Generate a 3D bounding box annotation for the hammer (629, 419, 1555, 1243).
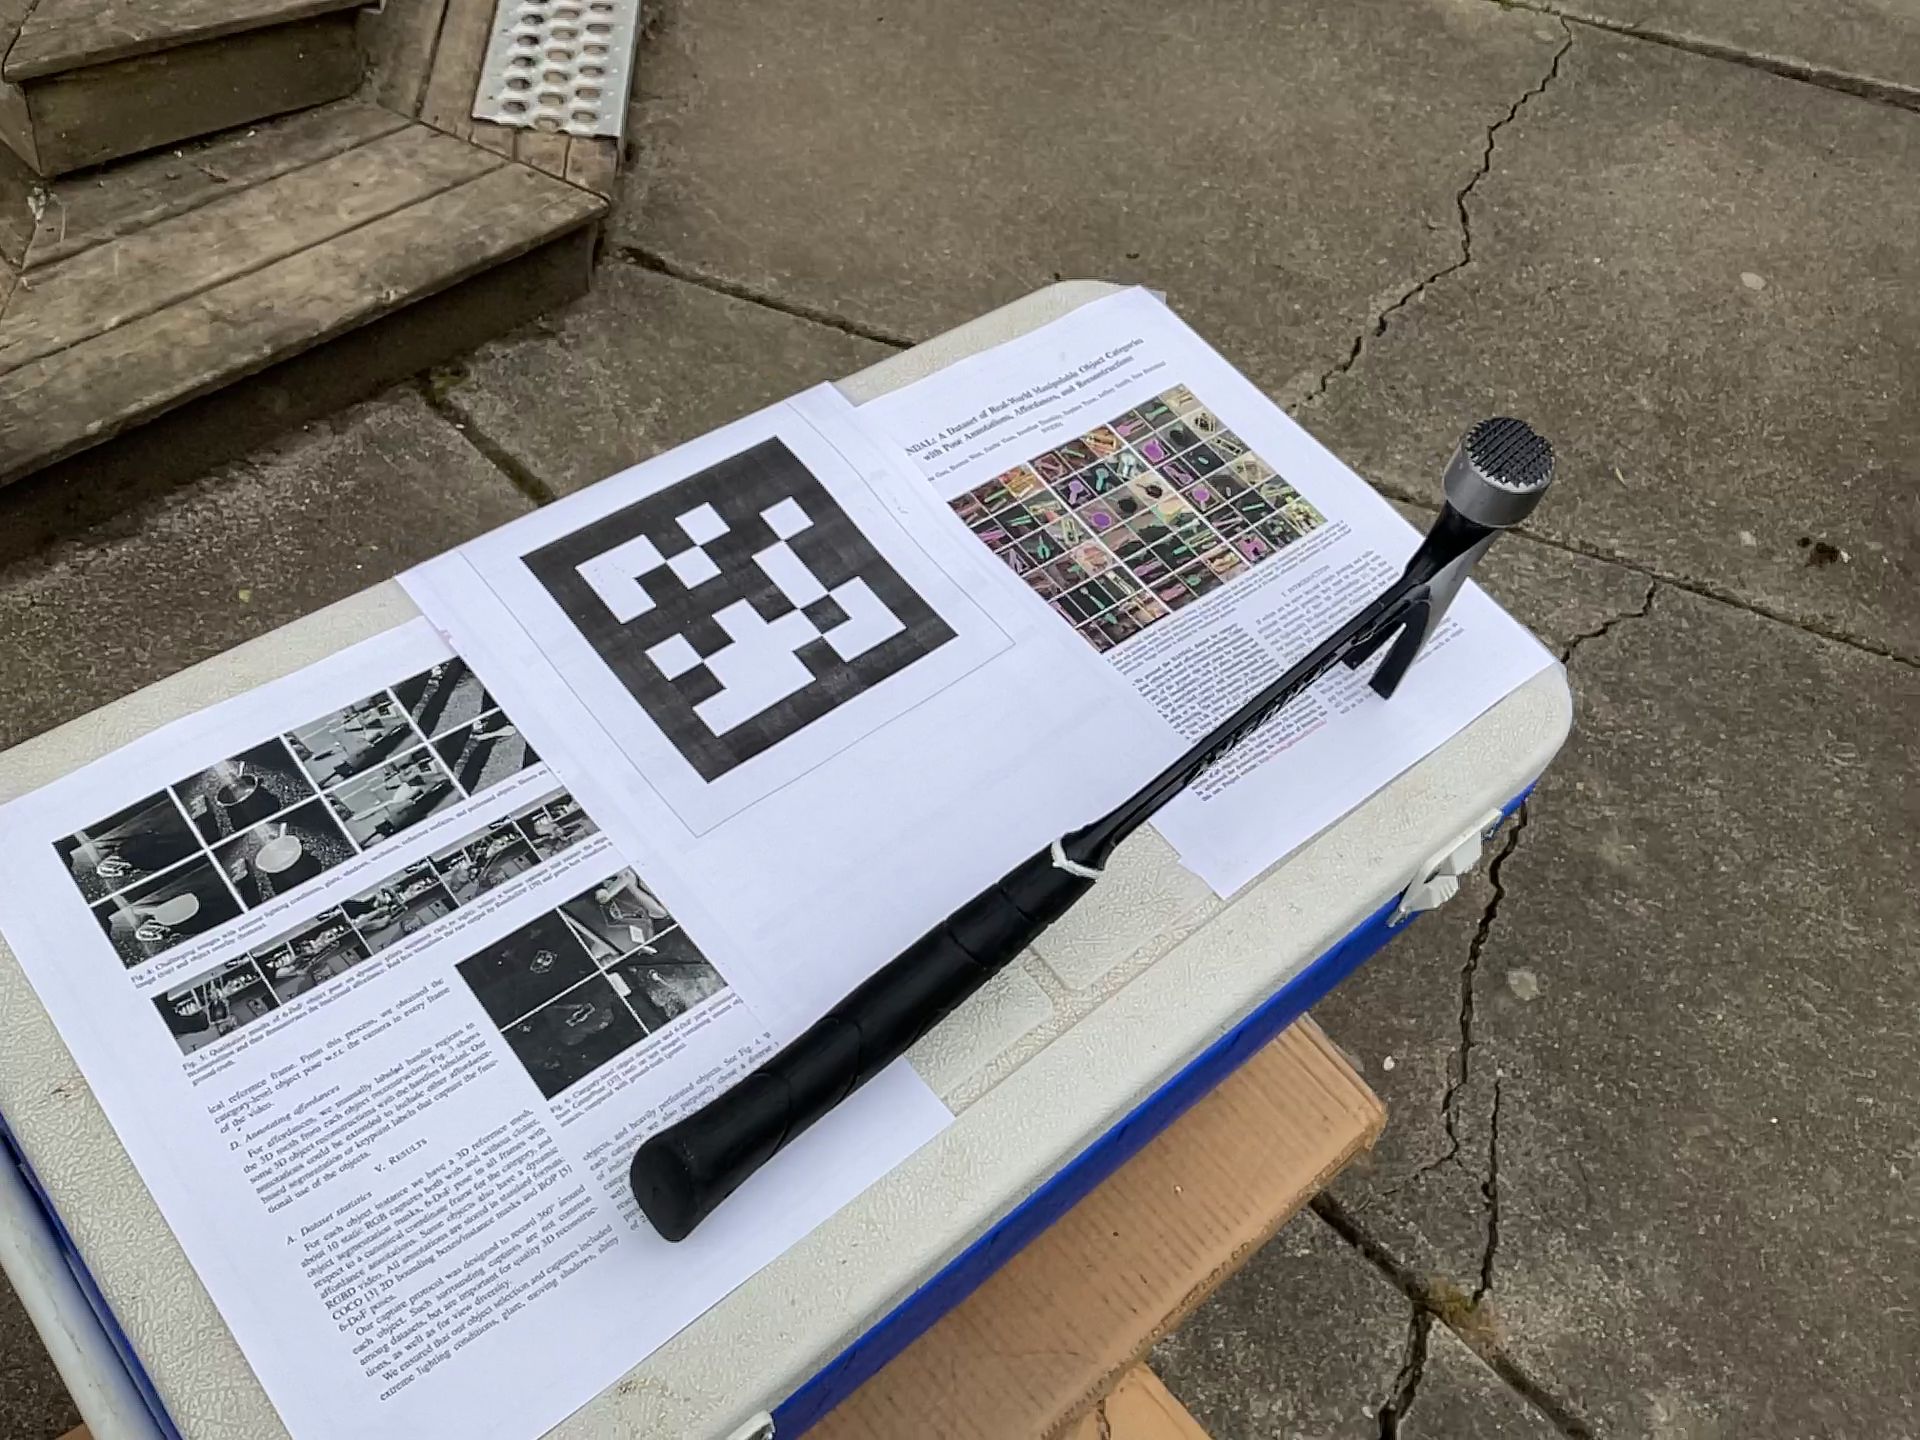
[{"bbox_3d":[0.054,0.041,0.576,0.409,0.149,0.036,-36,70,-21],"label":"hammer"}]
